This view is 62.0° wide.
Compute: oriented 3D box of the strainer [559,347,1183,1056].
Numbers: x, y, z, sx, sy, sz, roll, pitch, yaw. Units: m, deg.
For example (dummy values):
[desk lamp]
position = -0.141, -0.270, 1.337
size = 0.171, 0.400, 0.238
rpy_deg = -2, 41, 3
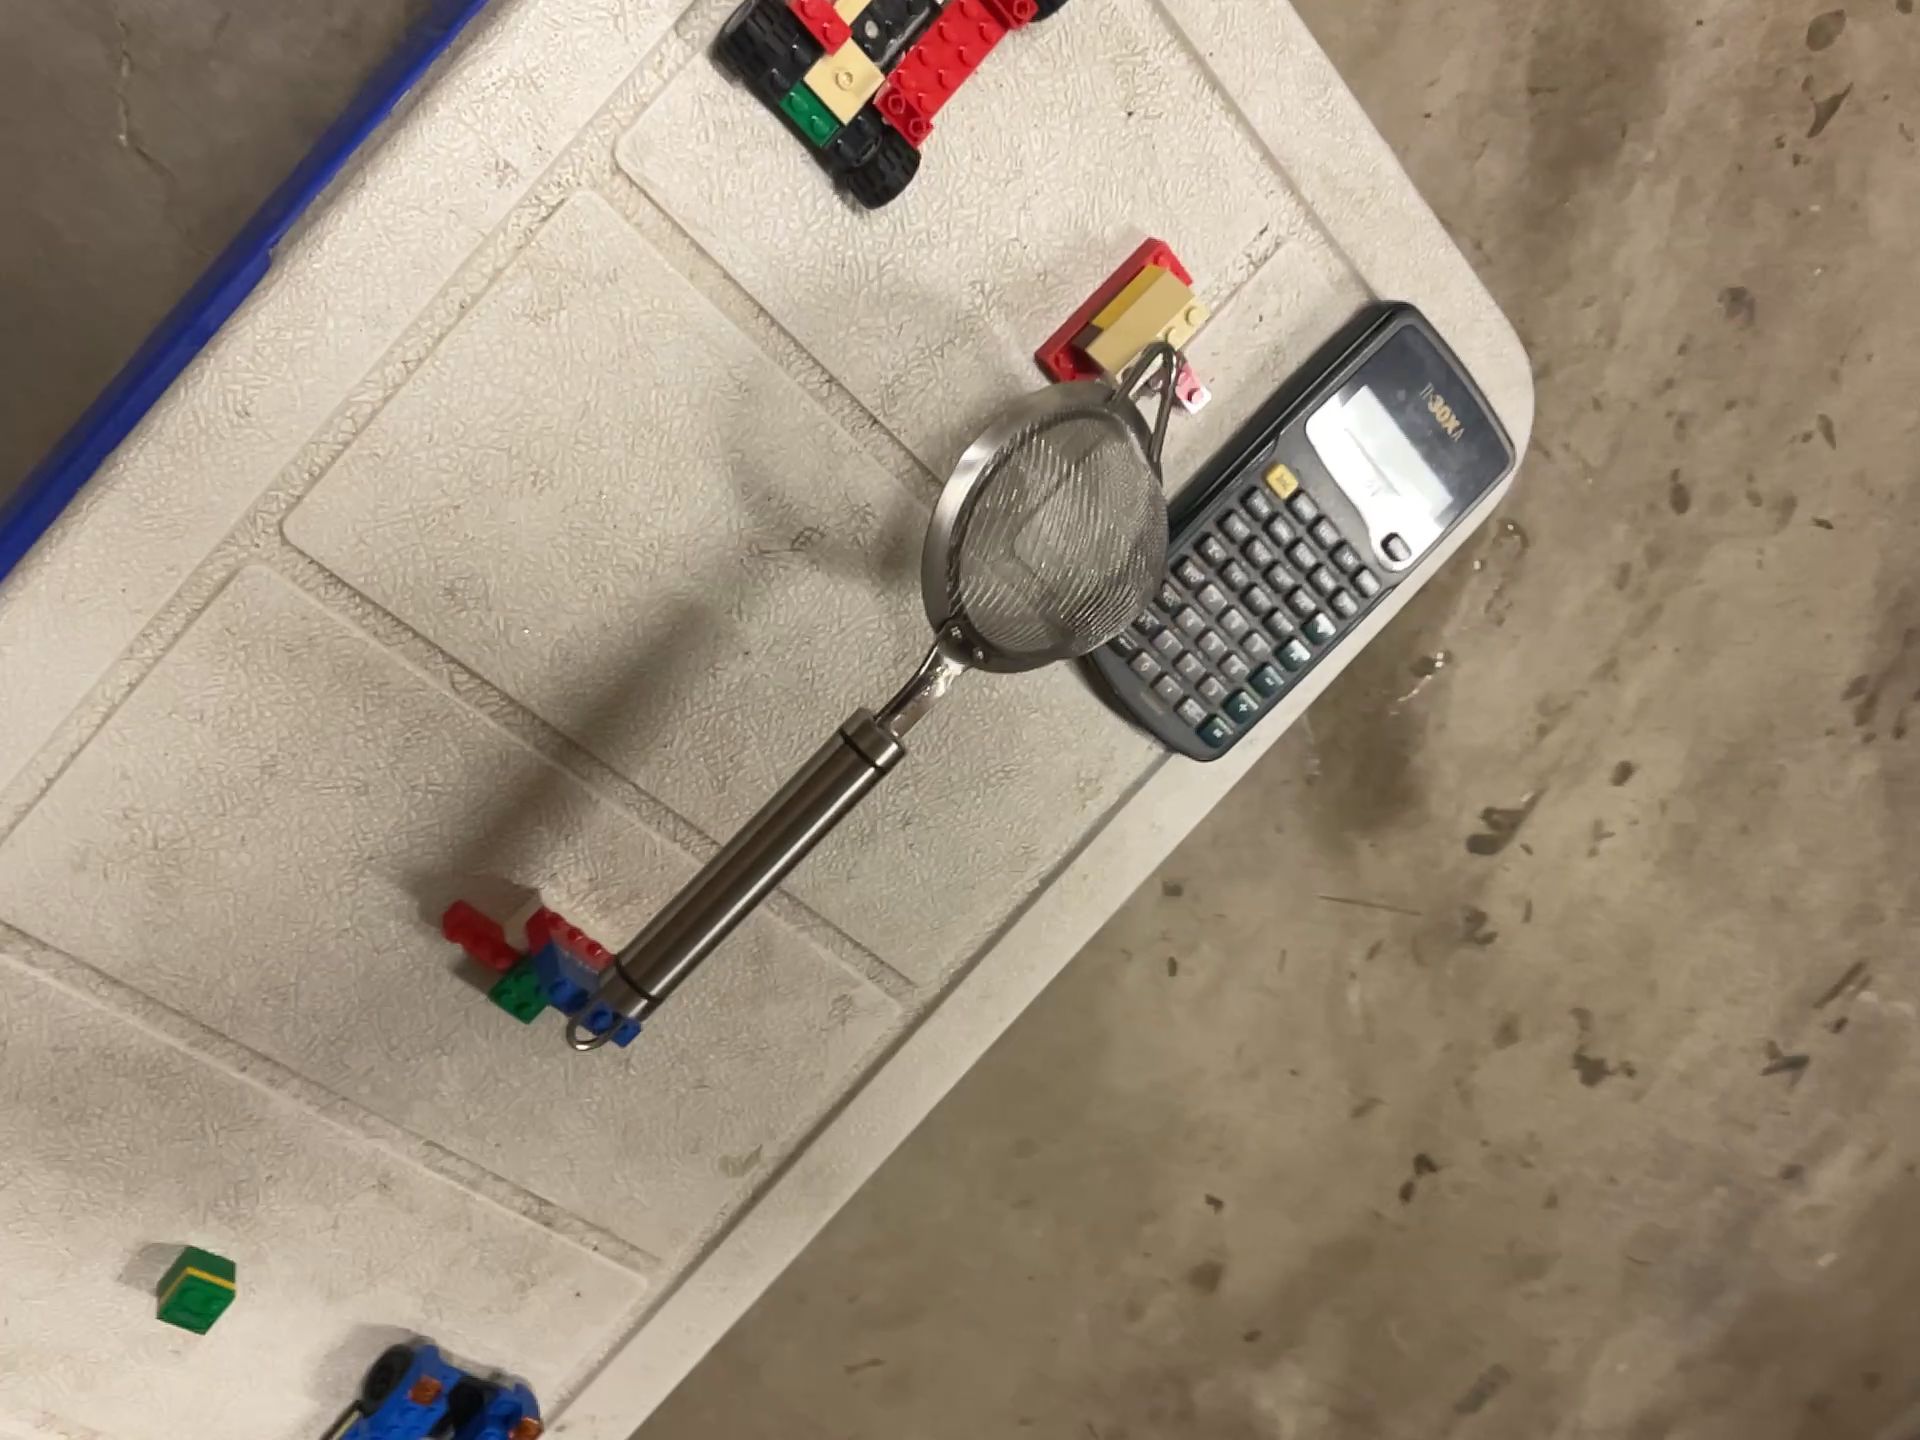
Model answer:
[strainer]
position = -0.018, 0.003, 0.439
size = 0.258, 0.050, 0.086
rpy_deg = -45, 138, 4
